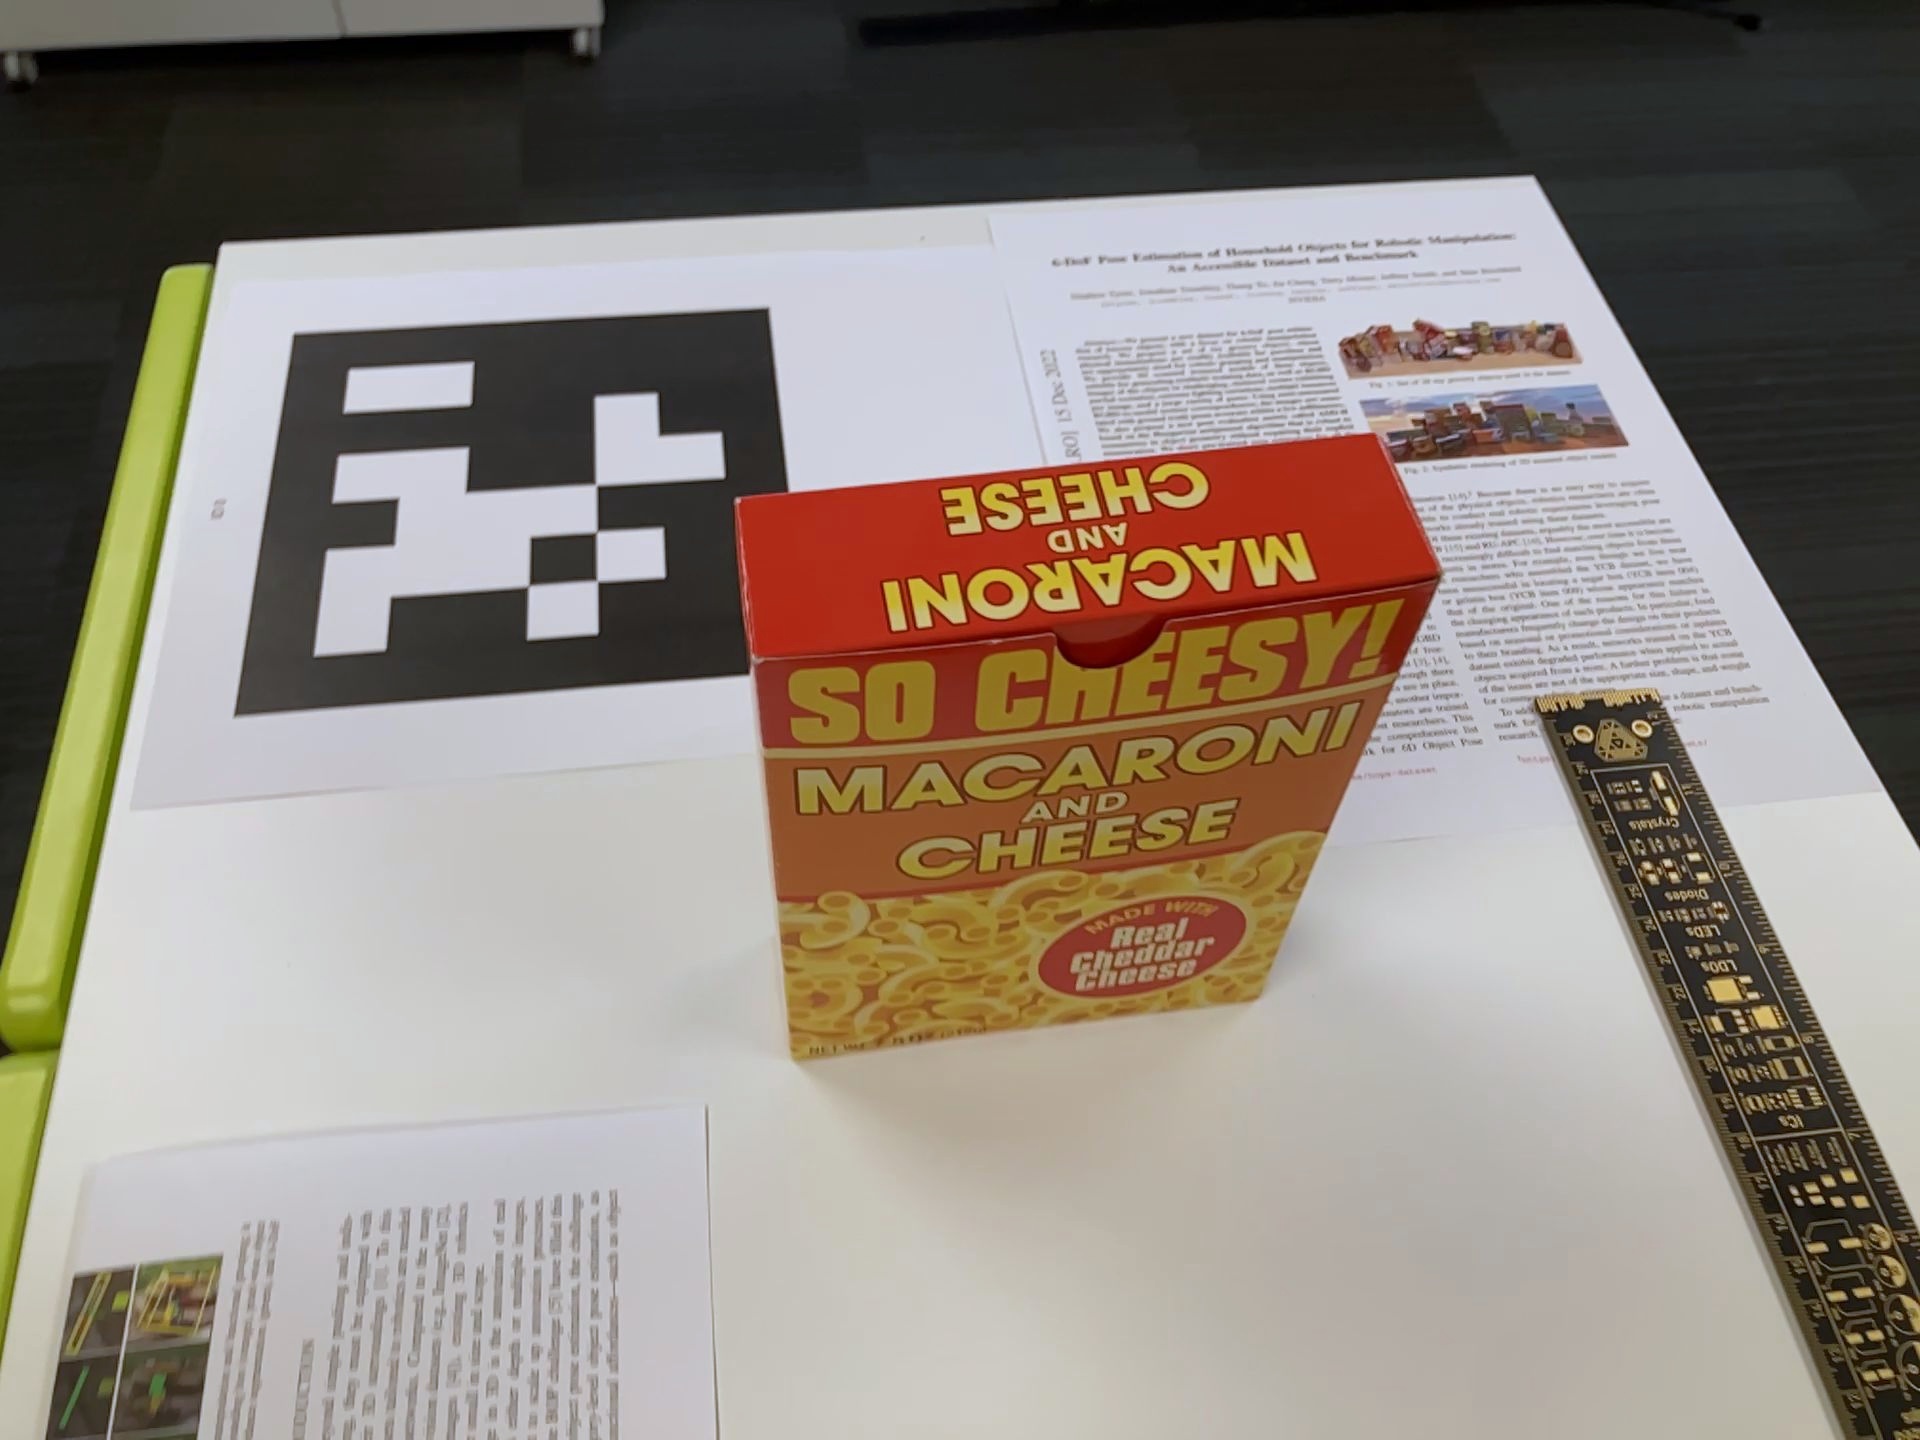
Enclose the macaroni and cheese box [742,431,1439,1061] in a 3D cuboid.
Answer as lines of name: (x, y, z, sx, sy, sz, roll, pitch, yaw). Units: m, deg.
macaroni and cheese box: (0.020, 0.016, 0.349, 0.124, 0.166, 0.040, -7, 55, -8)
